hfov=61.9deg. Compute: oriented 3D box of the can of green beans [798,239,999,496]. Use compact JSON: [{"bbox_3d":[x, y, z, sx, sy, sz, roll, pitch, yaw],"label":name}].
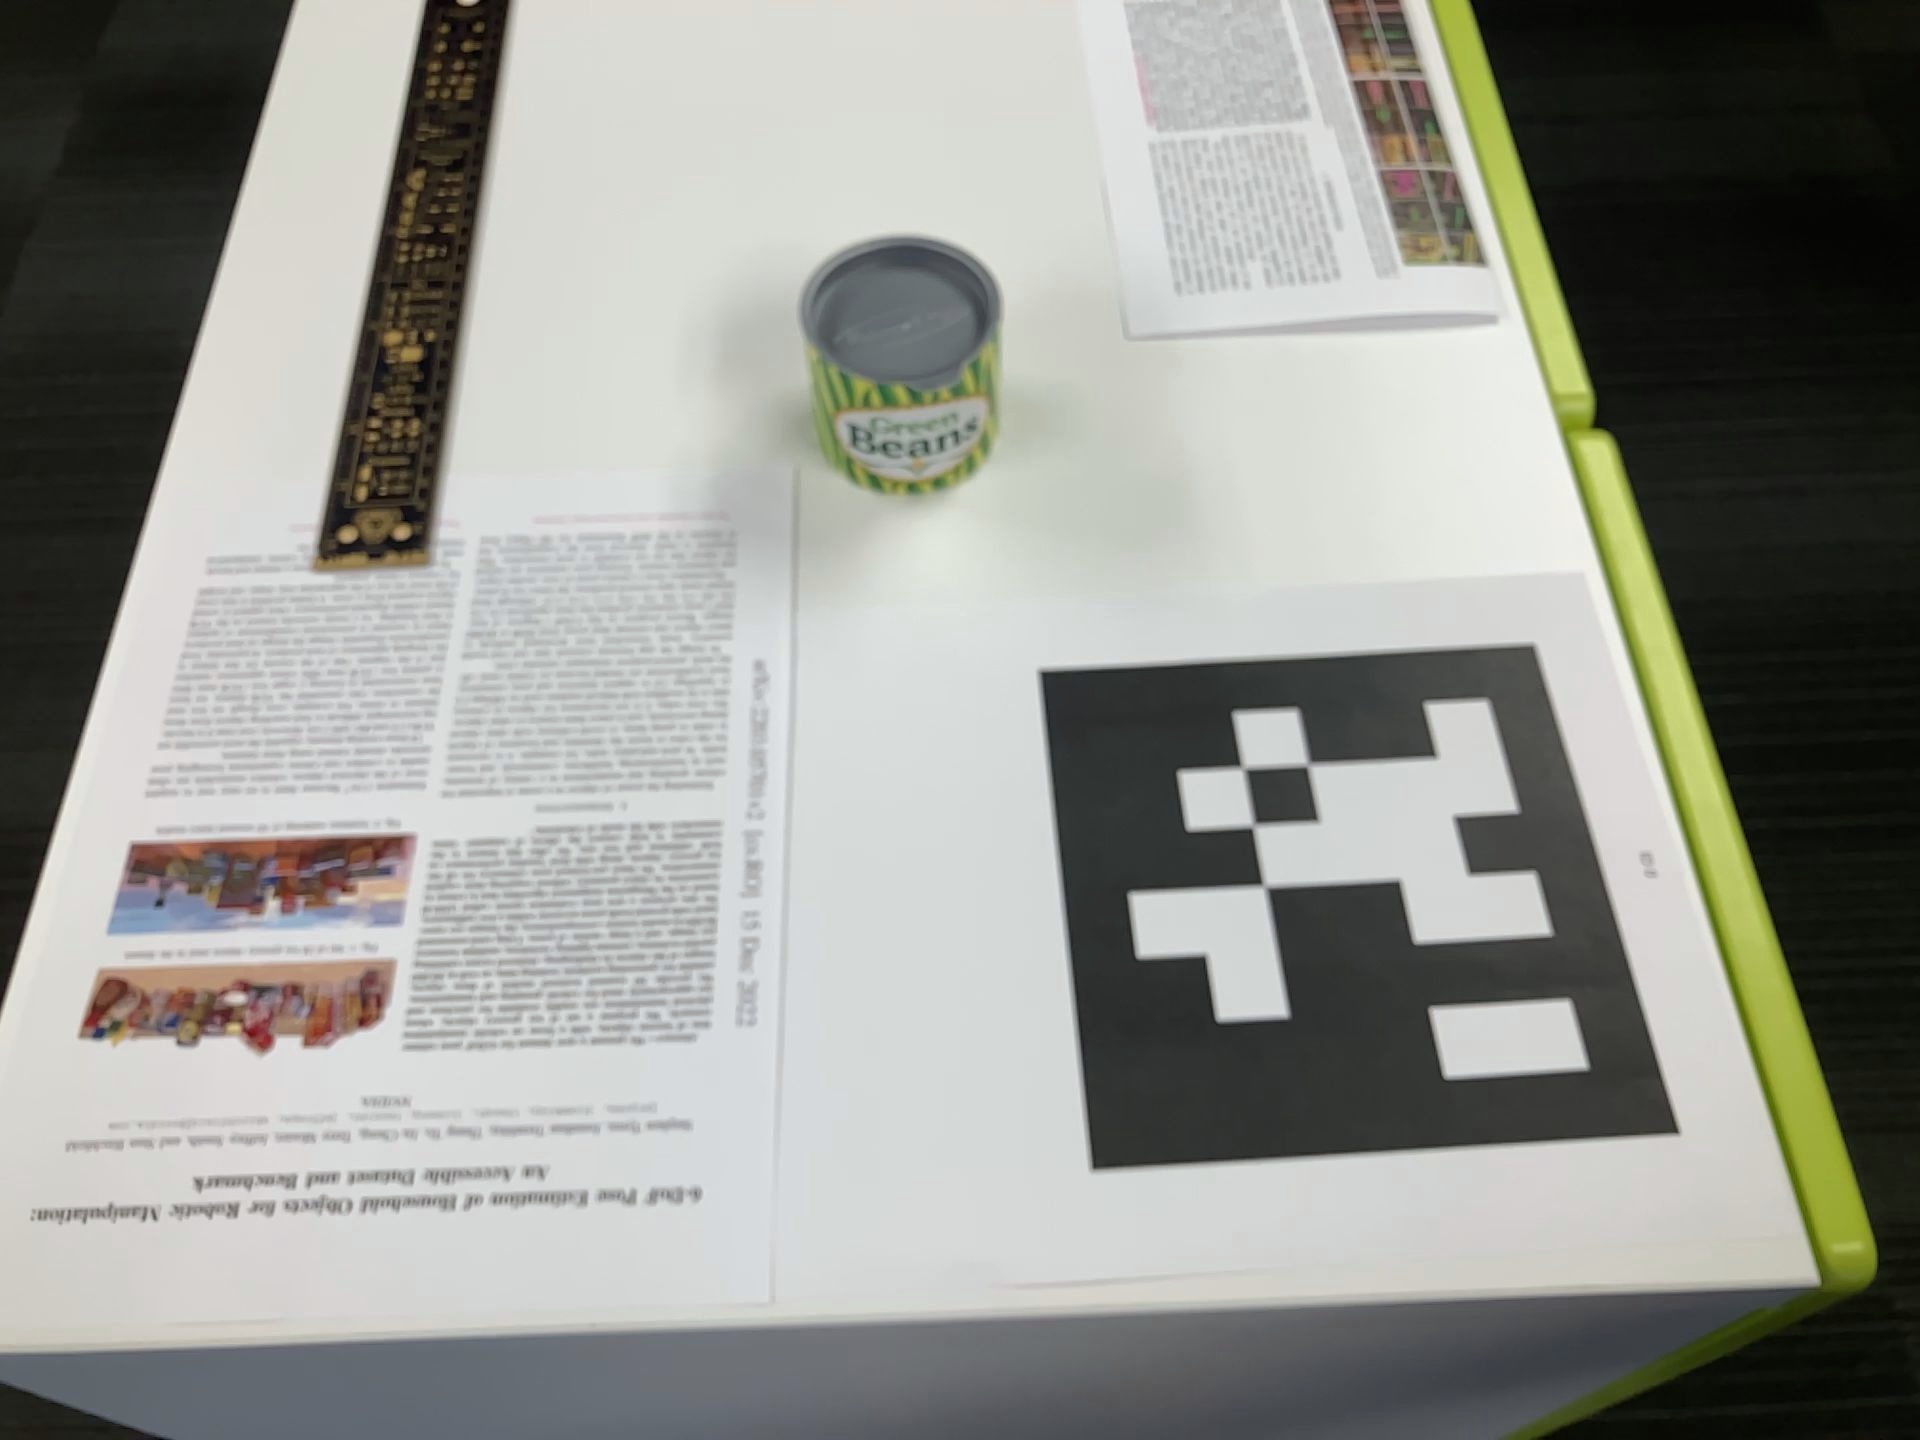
[{"bbox_3d":[-0.020,-0.120,0.549,0.071,0.058,0.071,-1,58,1],"label":"can of green beans"}]
